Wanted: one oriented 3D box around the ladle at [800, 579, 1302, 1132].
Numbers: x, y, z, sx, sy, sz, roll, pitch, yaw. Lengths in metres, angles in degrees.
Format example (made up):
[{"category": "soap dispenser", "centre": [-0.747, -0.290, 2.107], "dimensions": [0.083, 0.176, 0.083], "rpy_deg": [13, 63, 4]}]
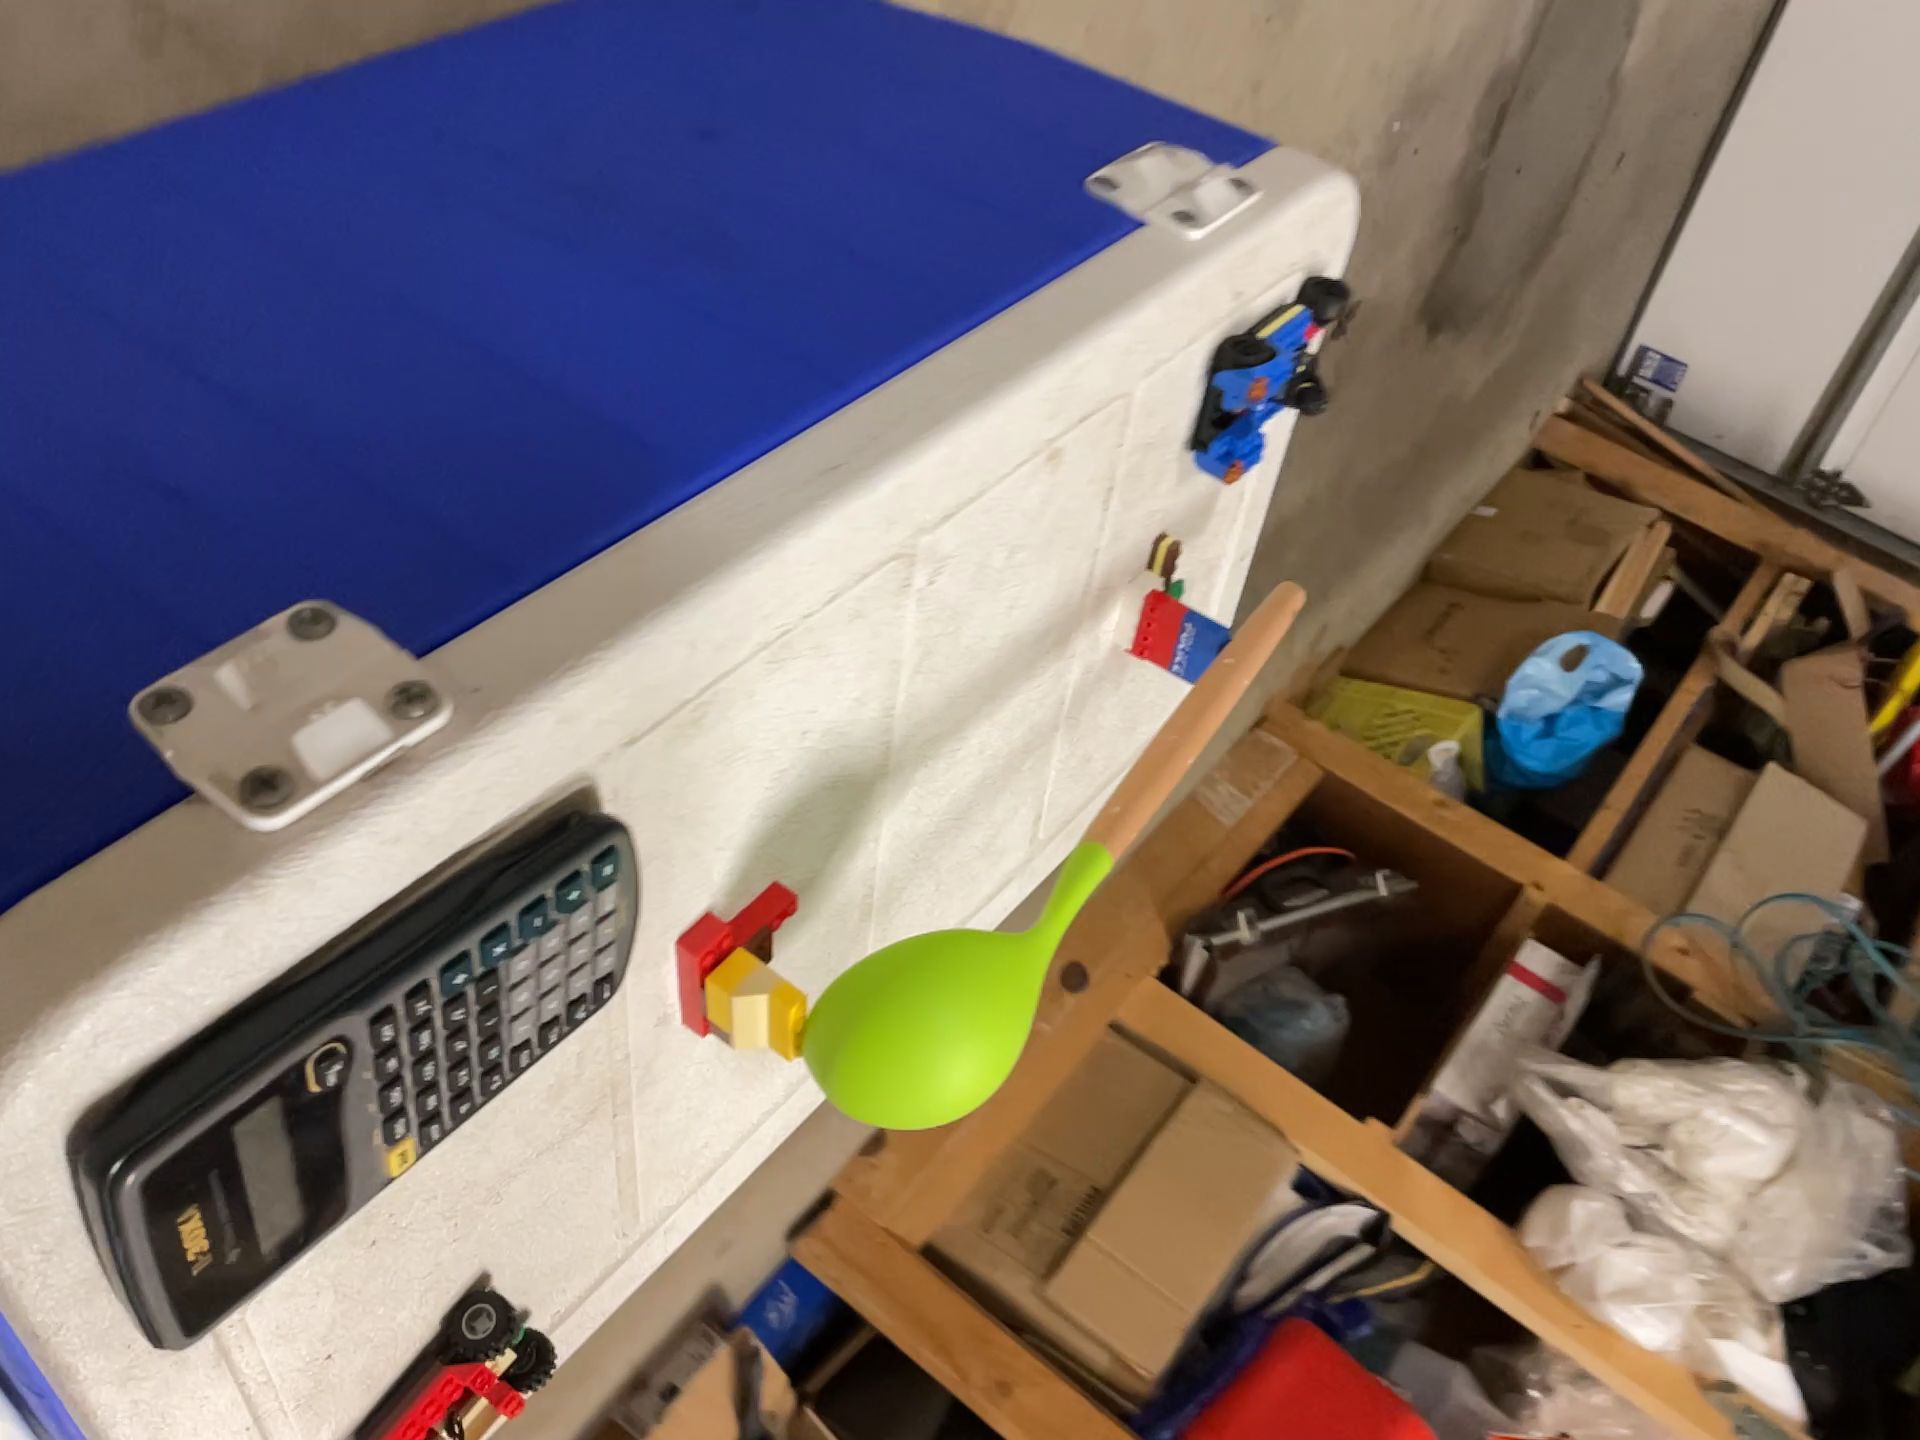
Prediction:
[{"category": "ladle", "centre": [0.052, 0.030, 0.603], "dimensions": [0.320, 0.062, 0.078], "rpy_deg": [-48, 151, -40]}]
